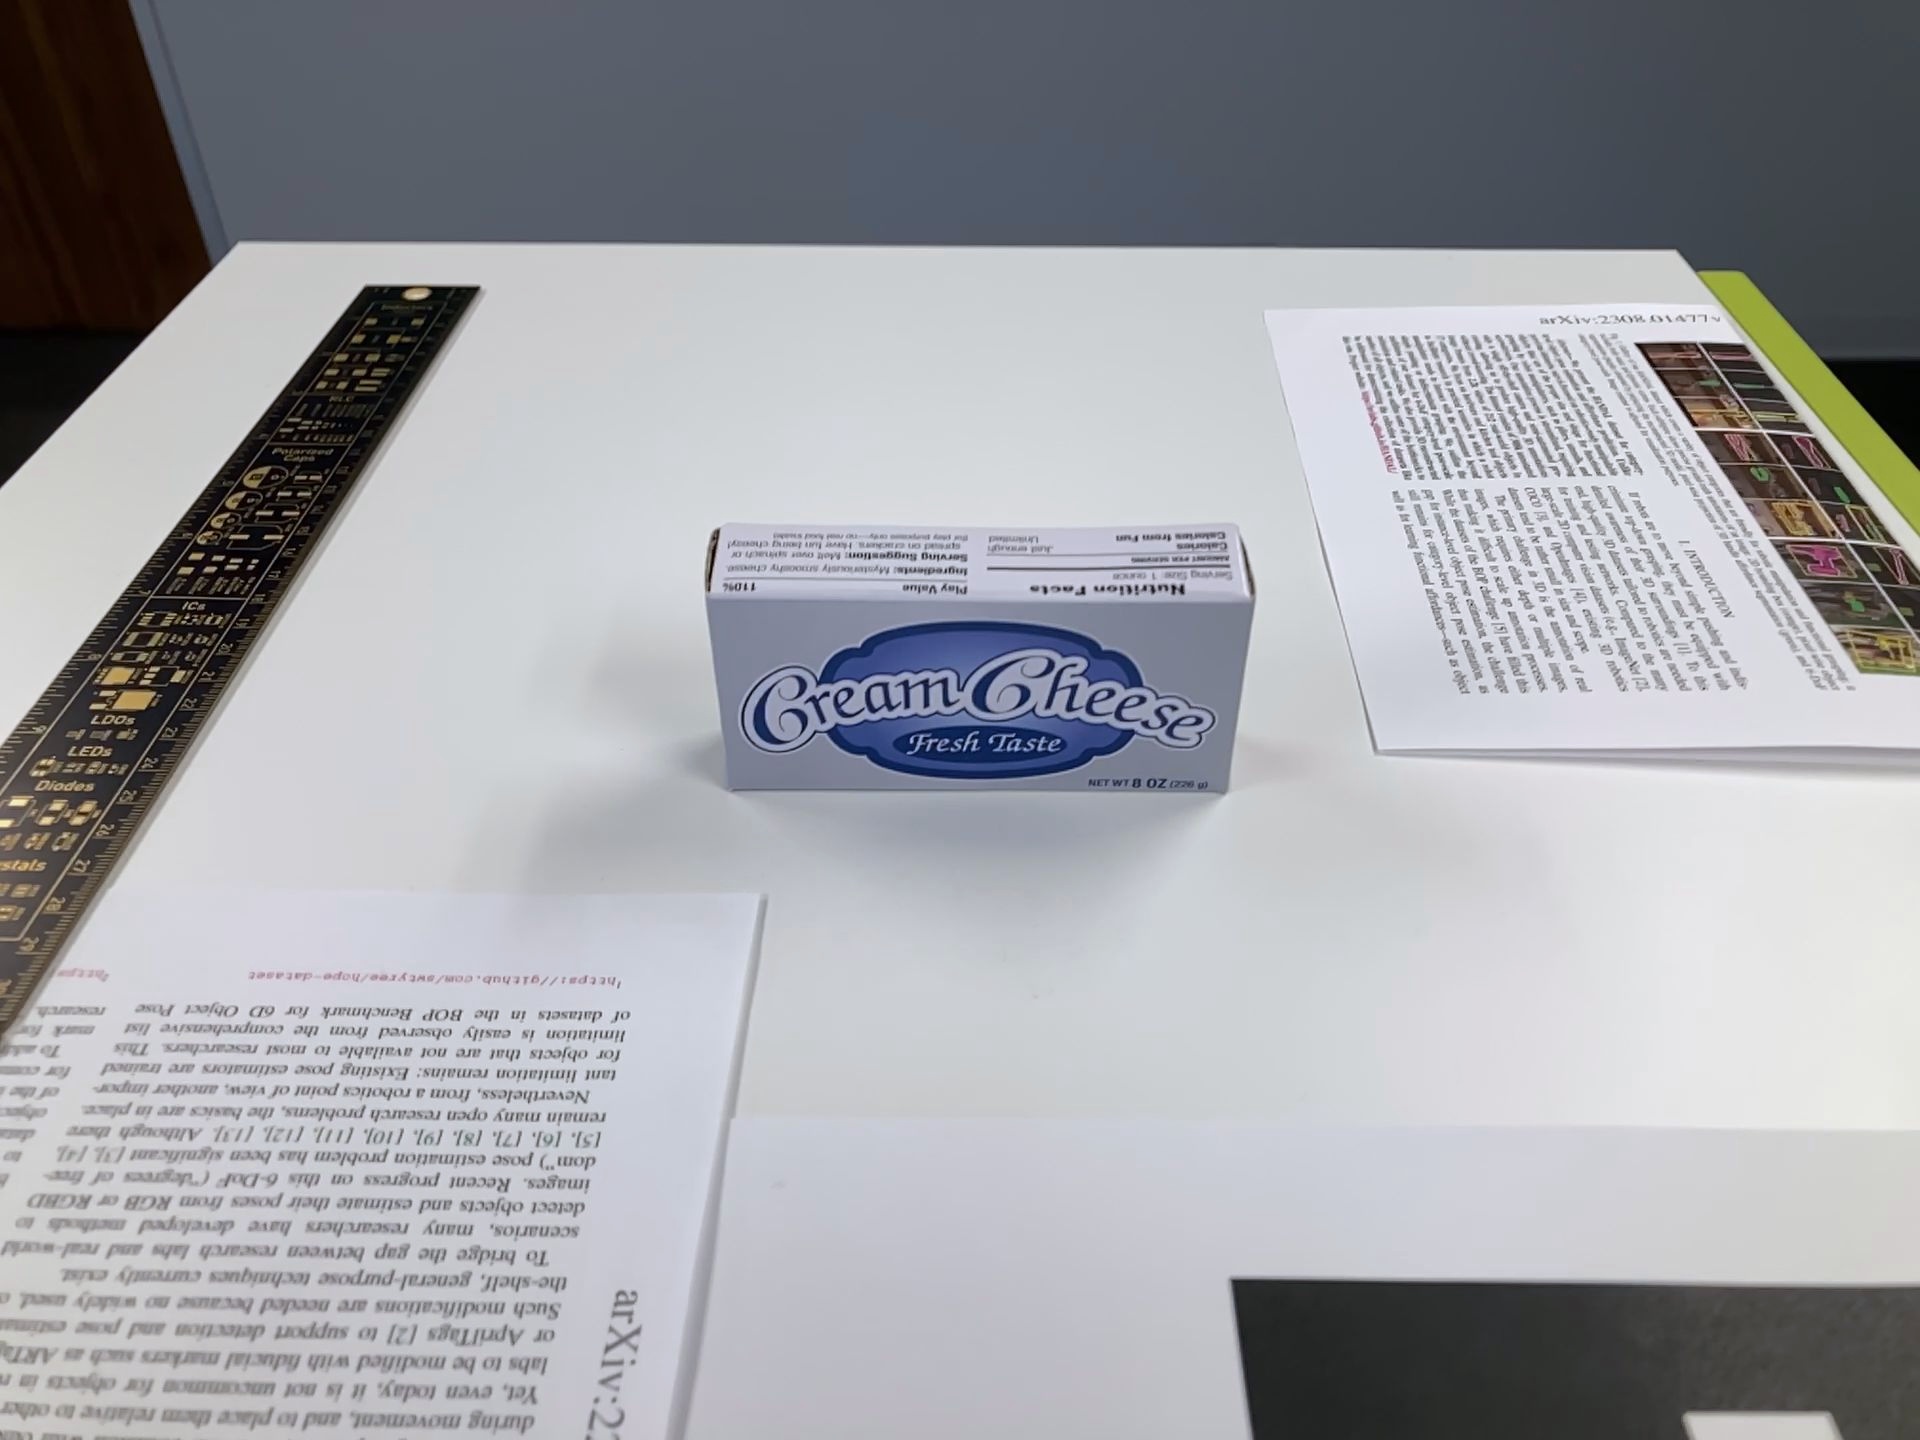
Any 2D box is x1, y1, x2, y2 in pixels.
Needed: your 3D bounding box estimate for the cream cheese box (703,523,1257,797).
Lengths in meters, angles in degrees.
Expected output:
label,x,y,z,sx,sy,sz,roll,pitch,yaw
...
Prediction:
label,x,y,z,sx,sy,sz,roll,pitch,yaw
cream cheese box,0.003,-0.011,0.314,0.104,0.053,0.024,0,41,1
